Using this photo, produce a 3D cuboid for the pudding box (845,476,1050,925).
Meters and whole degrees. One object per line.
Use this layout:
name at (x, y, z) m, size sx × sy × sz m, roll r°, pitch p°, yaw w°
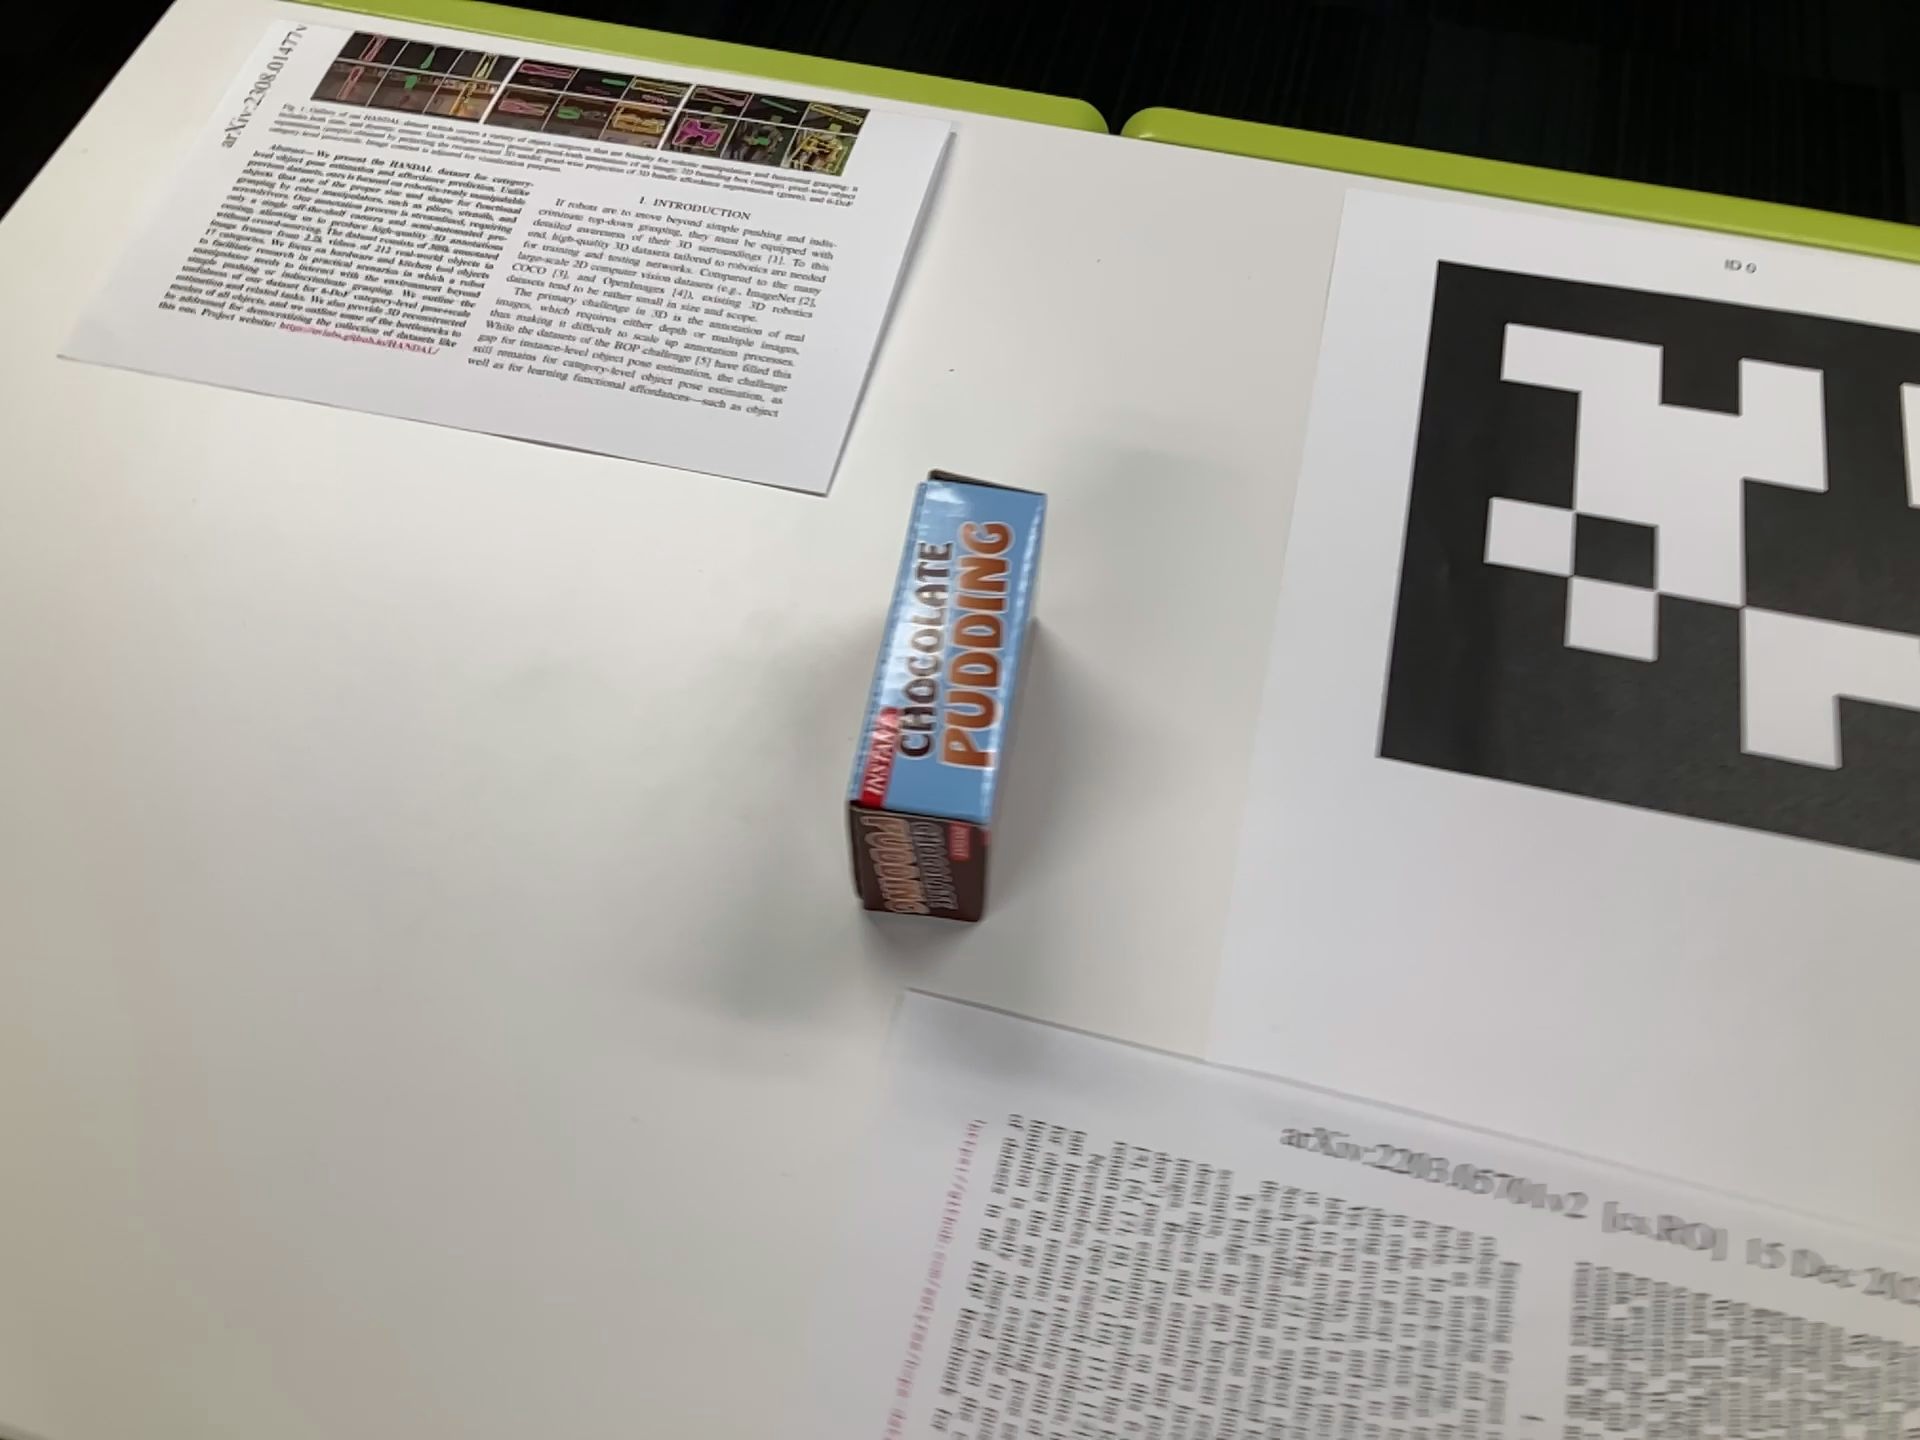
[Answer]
pudding box at (-0.002, -0.005, 0.342) m, size 0.030 × 0.049 × 0.083 m, roll 9°, pitch 60°, yaw 4°
